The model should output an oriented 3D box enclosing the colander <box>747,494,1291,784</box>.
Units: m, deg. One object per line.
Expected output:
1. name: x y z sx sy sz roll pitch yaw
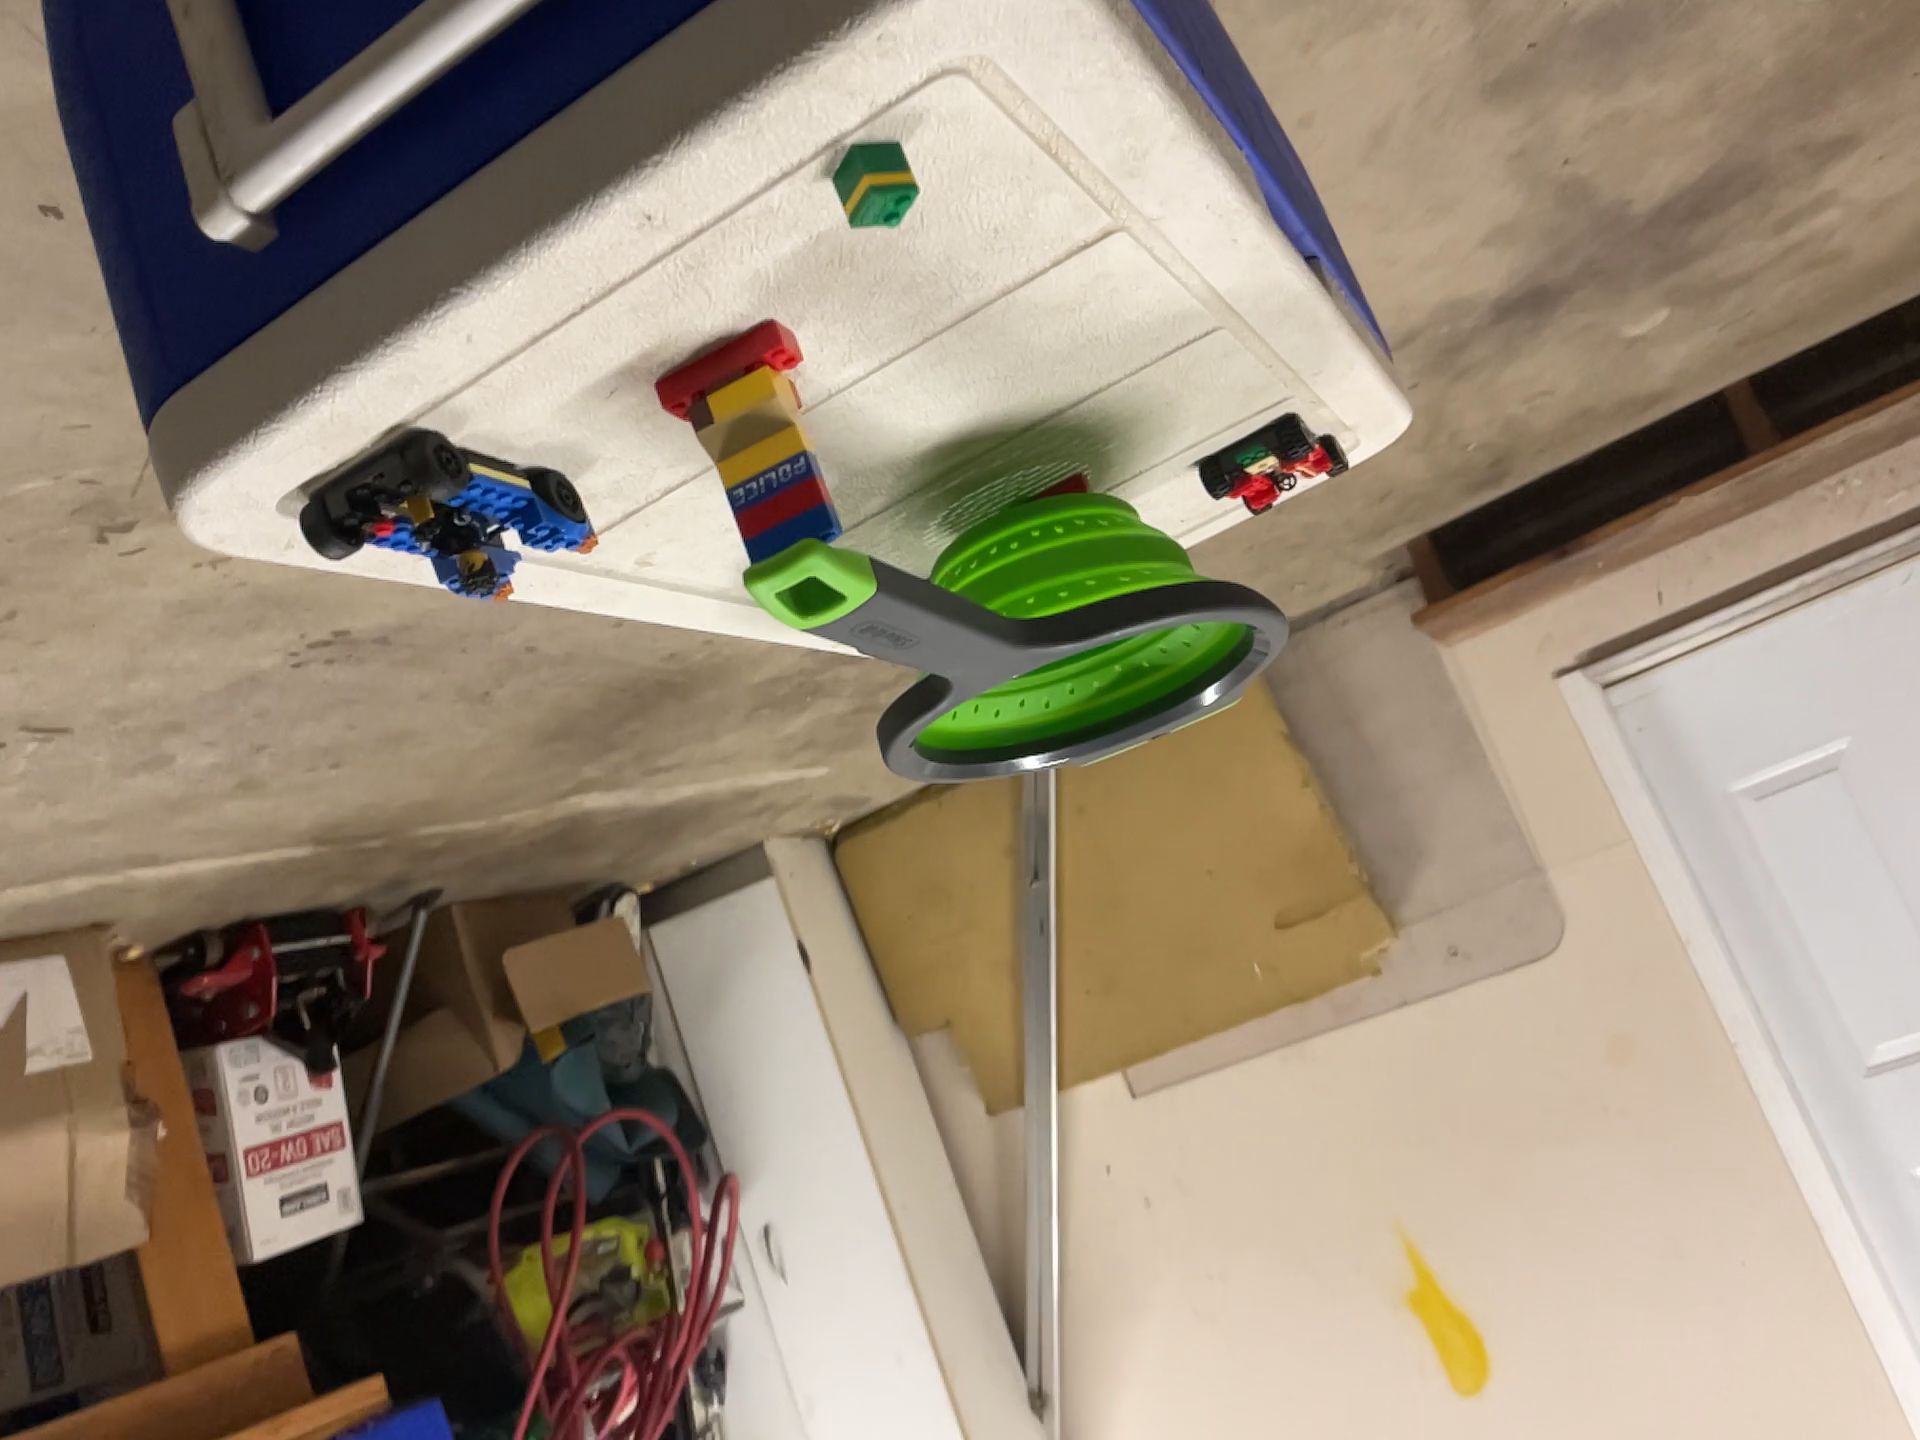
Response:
1. colander: 0.015 -0.058 0.708 0.204 0.094 0.397 -22 164 21
